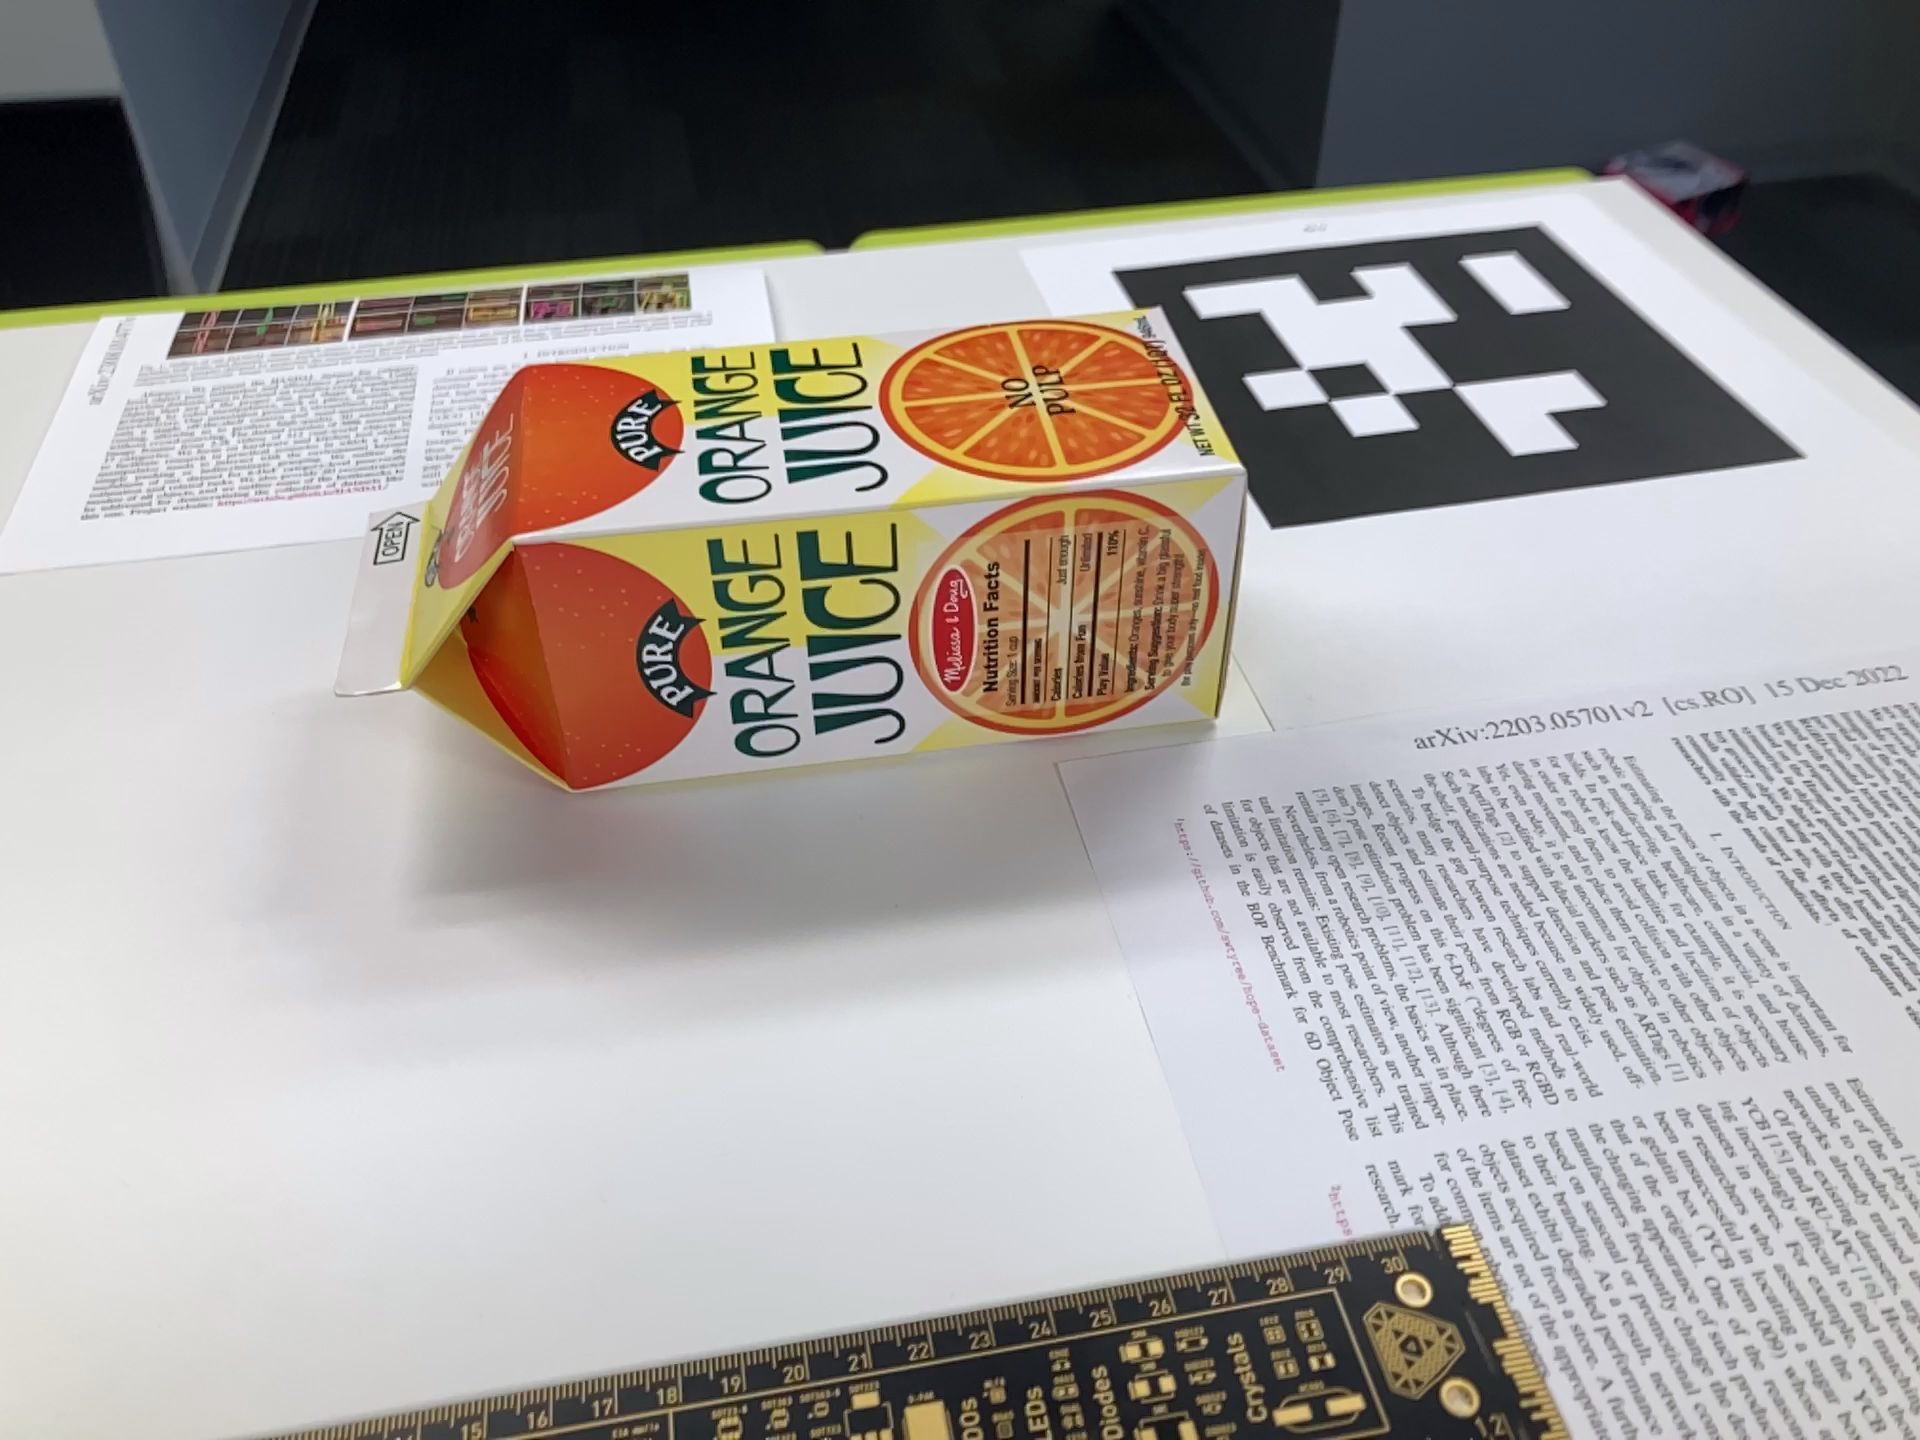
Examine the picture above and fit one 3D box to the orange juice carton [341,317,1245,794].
[{"bbox_3d":[-0.039,-0.037,0.364,0.192,0.073,0.072,-6,42,-6],"label":"orange juice carton"}]
